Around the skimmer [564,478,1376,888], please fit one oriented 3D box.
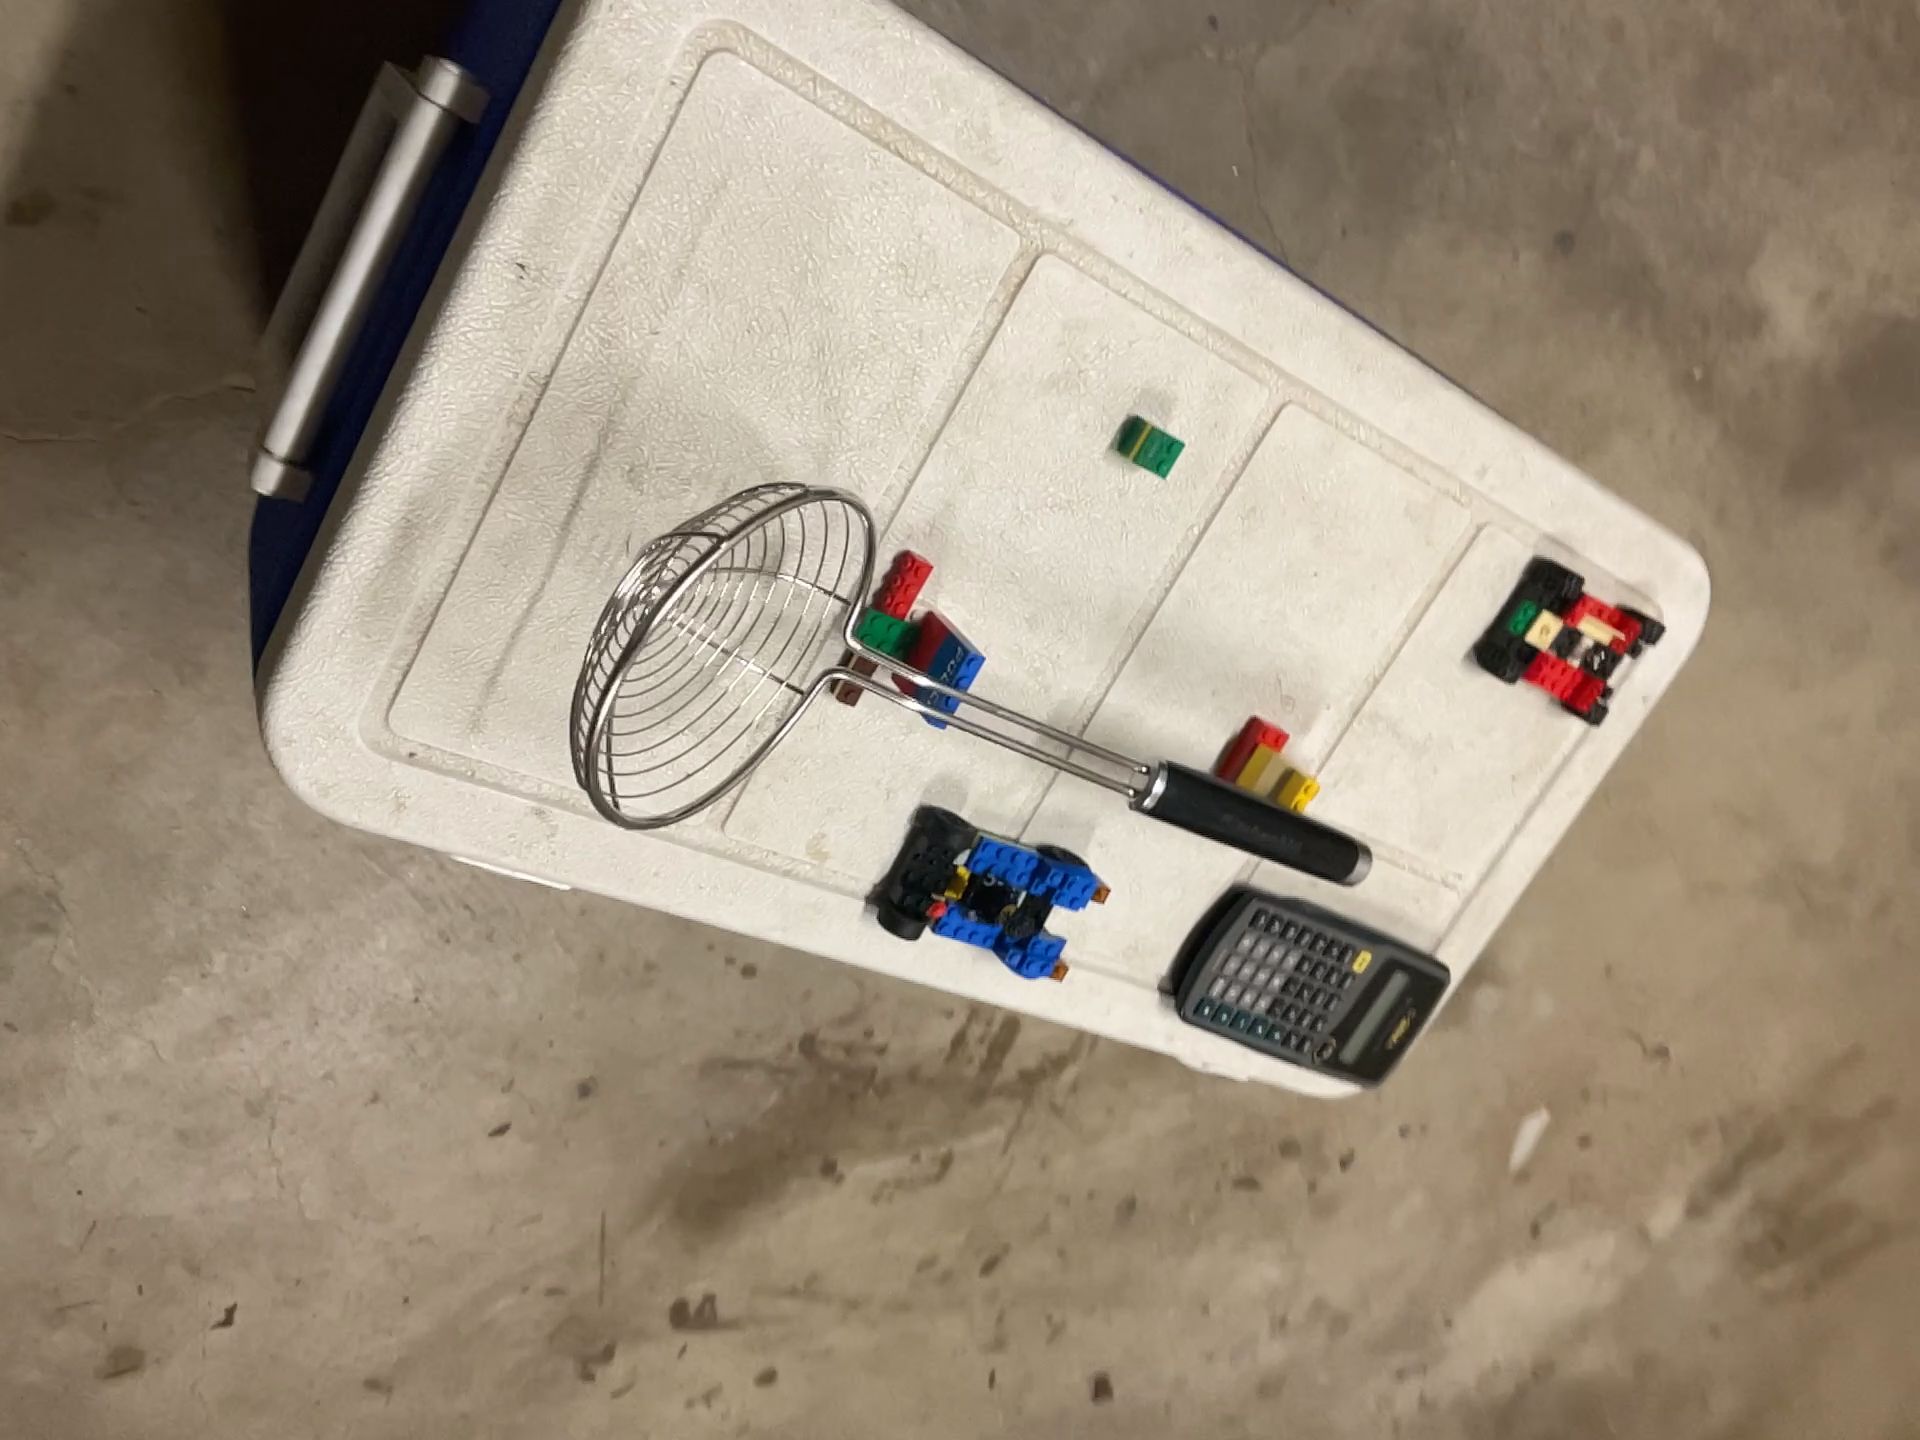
[{"bbox_3d":[0.034,0.021,0.559,0.362,0.090,0.127,21,108,-31],"label":"skimmer"}]
